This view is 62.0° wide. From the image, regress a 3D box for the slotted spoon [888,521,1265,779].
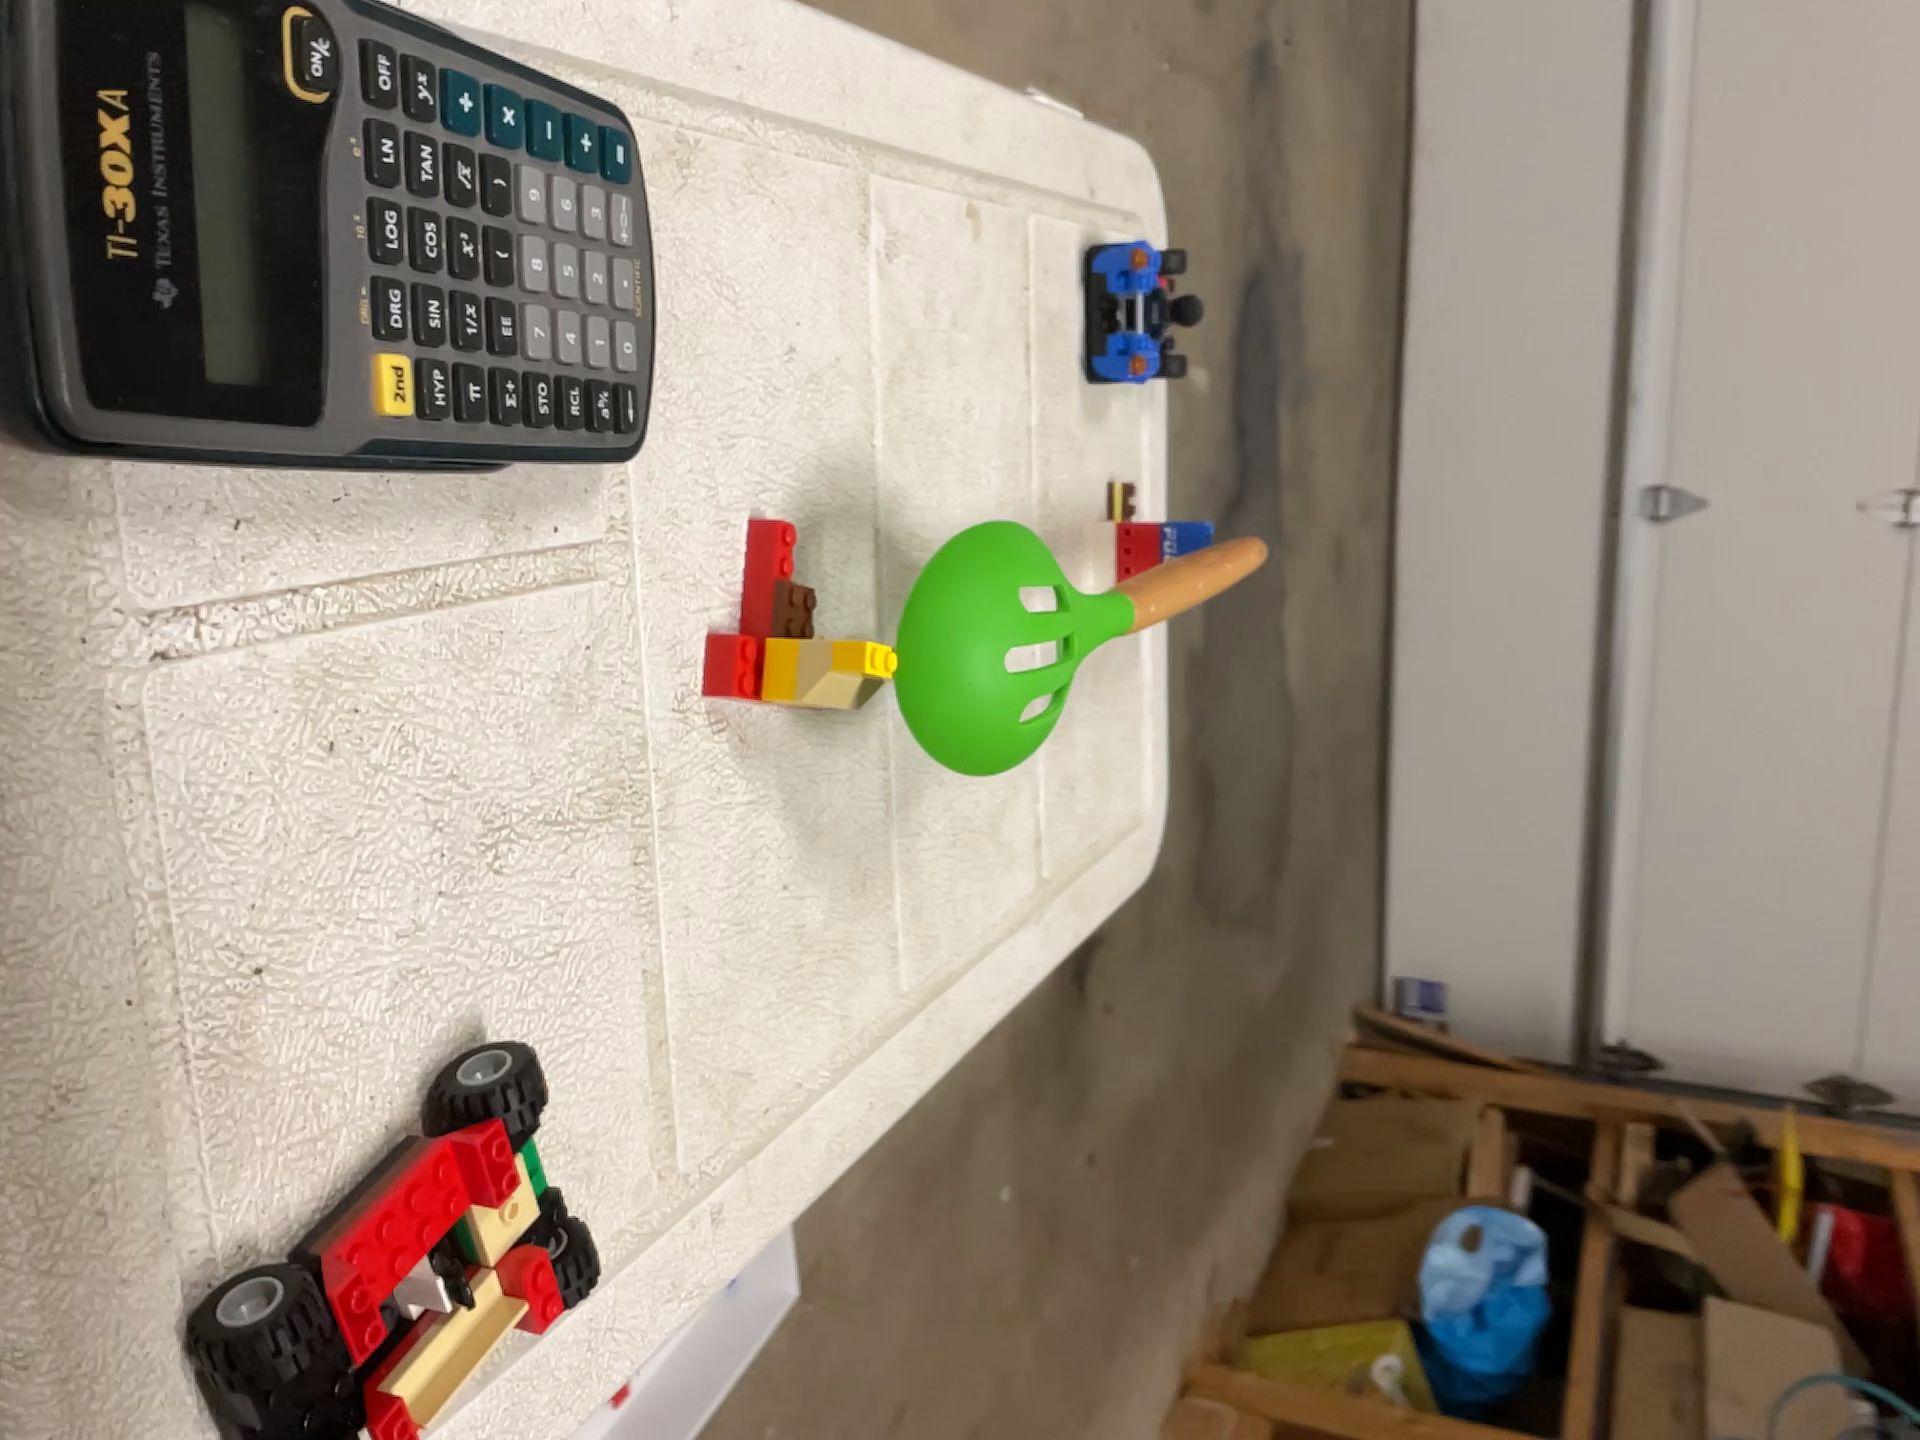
[{"bbox_3d":[0.060,-0.042,0.539,0.314,0.031,0.070,-26,115,-63],"label":"slotted spoon"}]
